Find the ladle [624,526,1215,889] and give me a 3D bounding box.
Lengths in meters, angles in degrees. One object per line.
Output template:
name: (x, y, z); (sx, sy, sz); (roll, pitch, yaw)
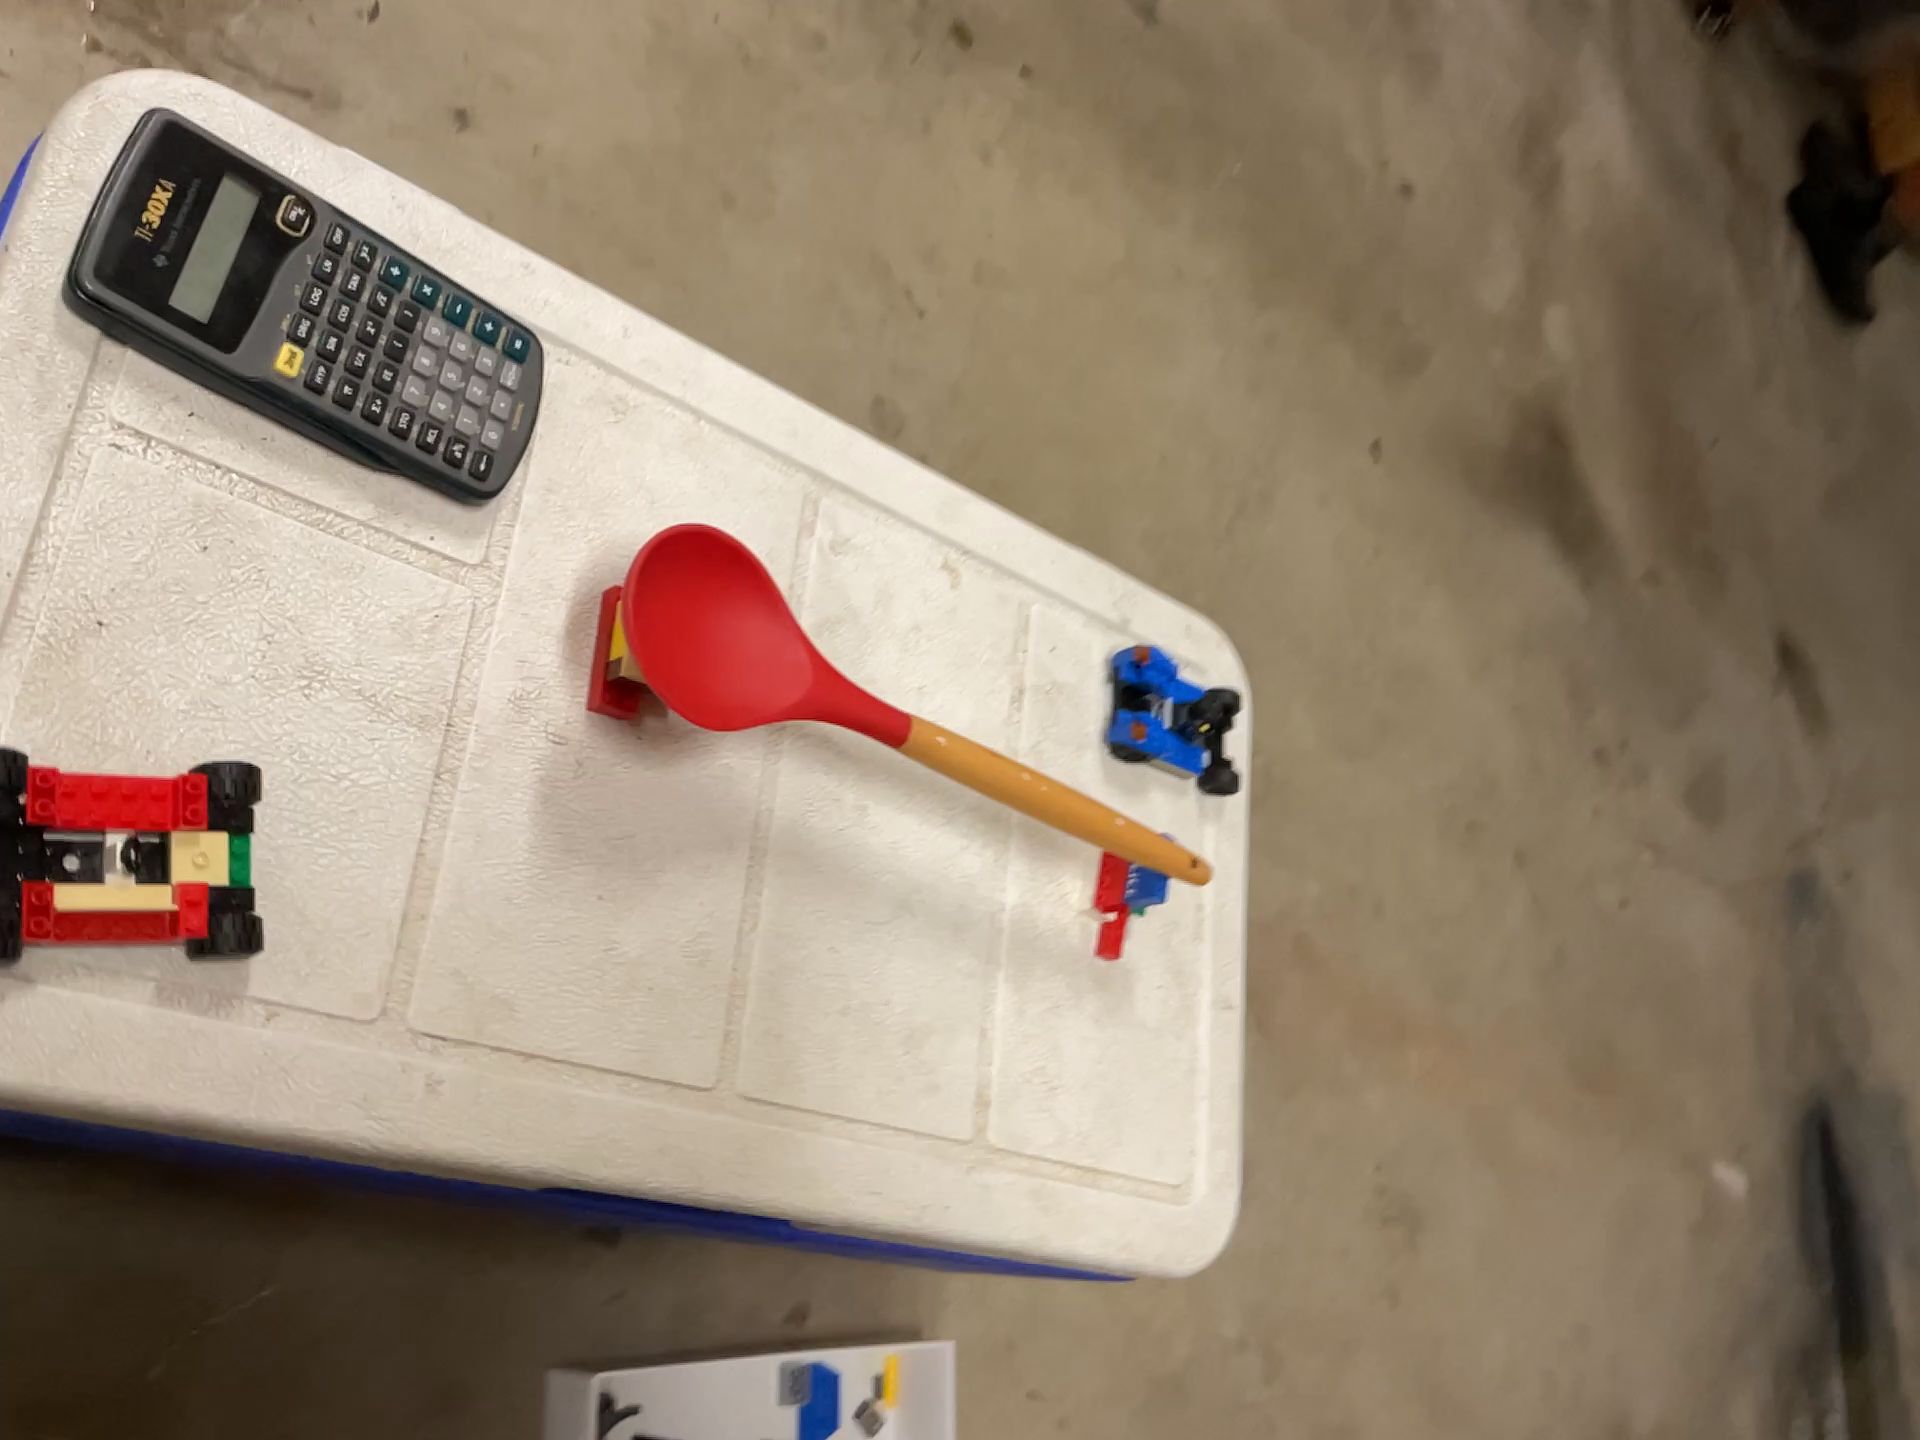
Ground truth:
ladle: (-0.003, 0.013, 0.626); (0.315, 0.031, 0.069); (27, 65, -36)
